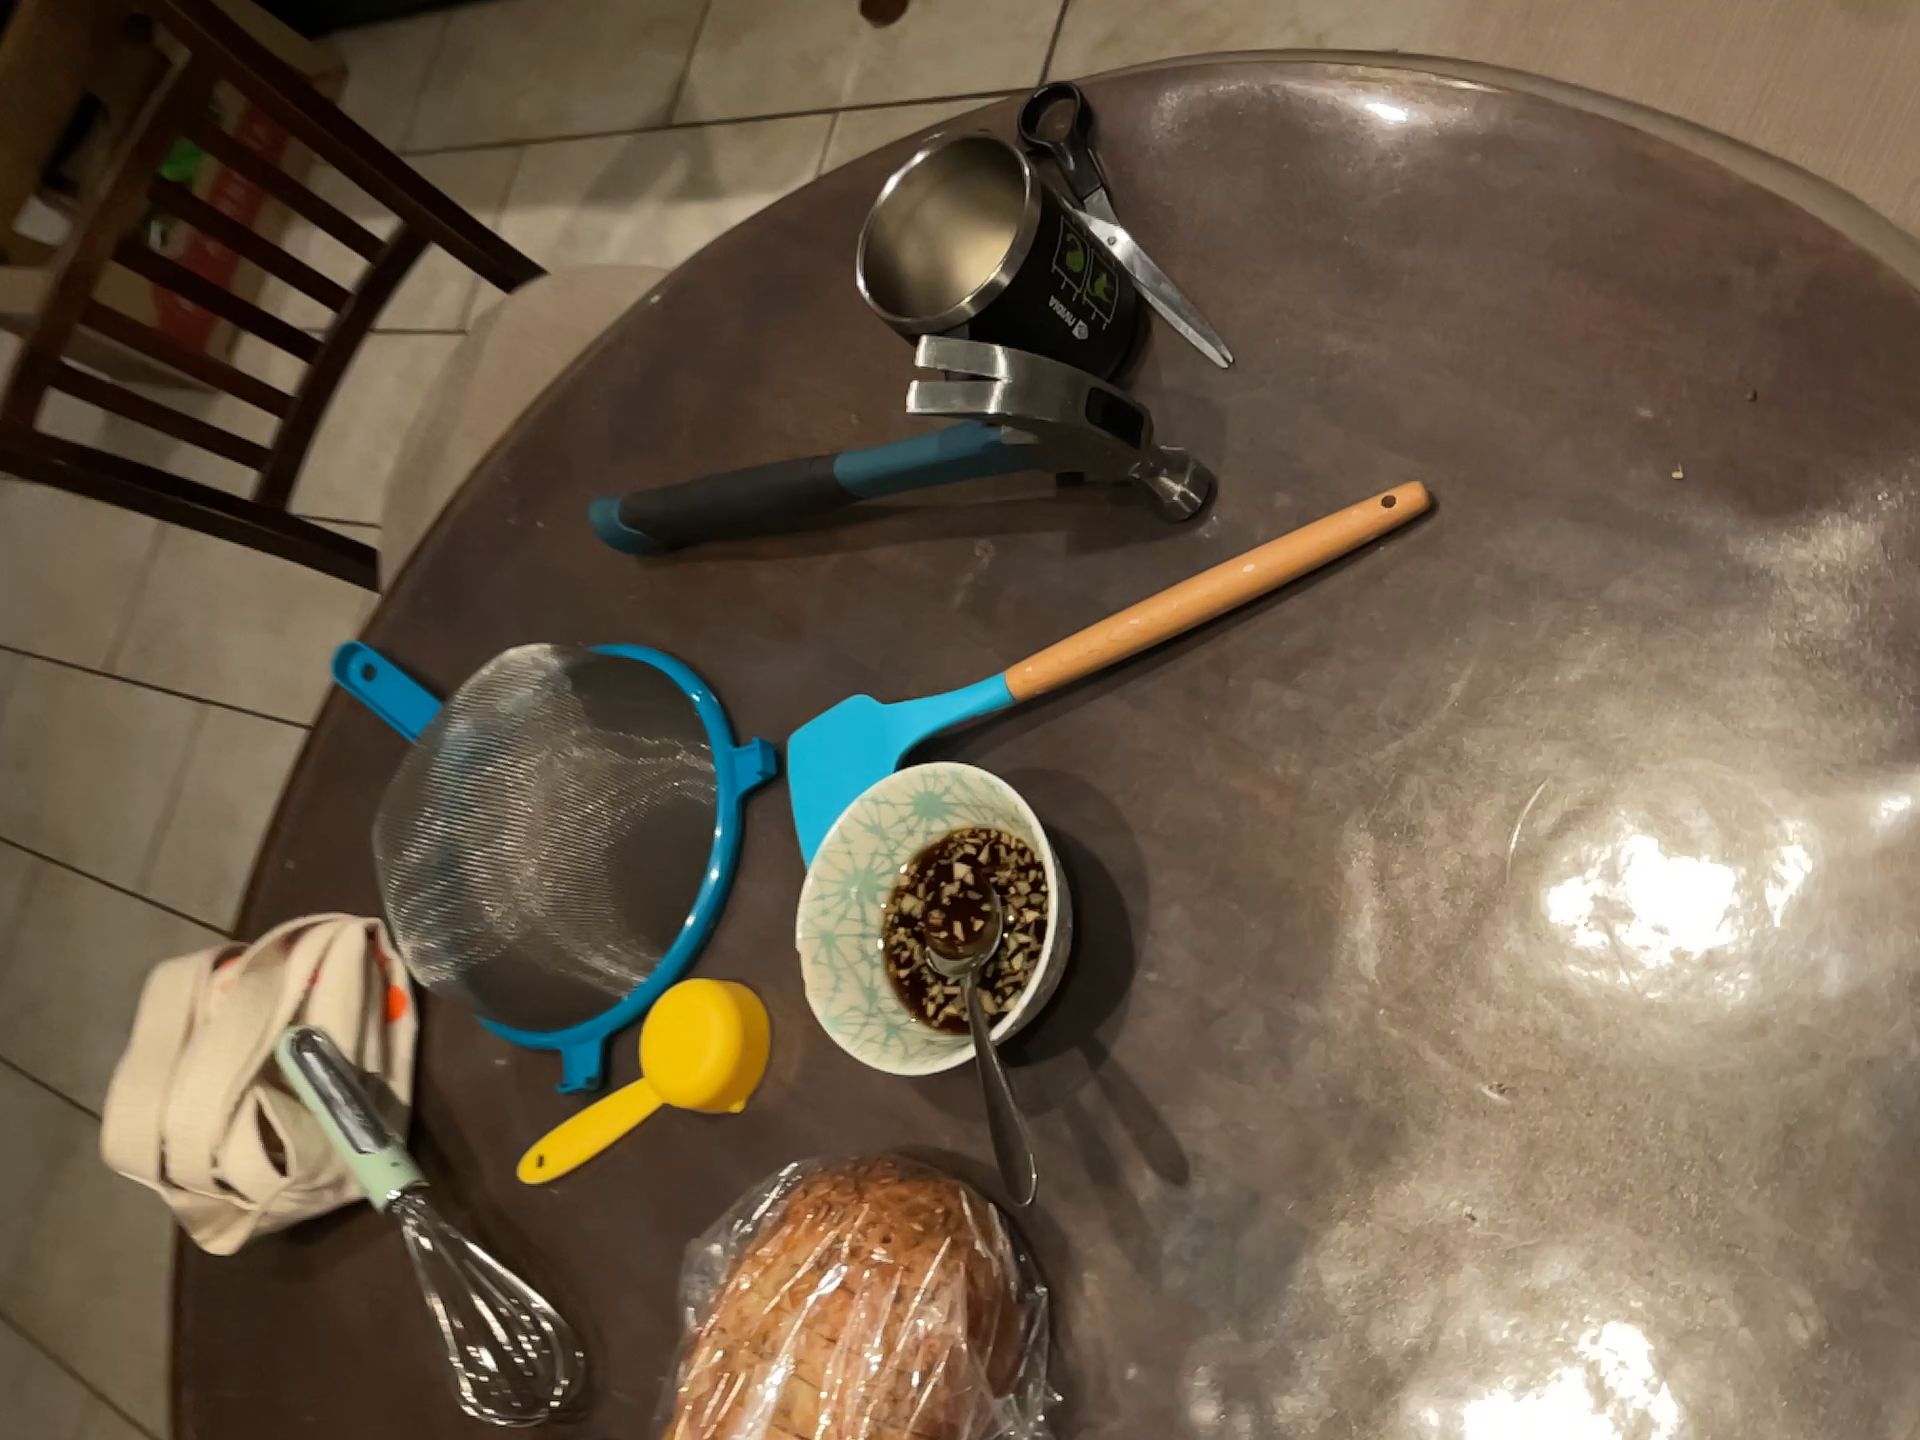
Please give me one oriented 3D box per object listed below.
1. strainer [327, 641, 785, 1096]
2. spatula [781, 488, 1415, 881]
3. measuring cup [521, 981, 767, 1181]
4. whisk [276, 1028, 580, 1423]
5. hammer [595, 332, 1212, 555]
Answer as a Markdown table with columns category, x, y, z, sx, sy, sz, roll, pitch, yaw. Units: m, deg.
| category | x | y | z | sx | sy | sz | roll | pitch | yaw |
| --- | --- | --- | --- | --- | --- | --- | --- | --- | --- |
| strainer | -0.261 | 0.025 | 0.826 | 0.340 | 0.095 | 0.211 | 30 | 91 | 33 |
| spatula | 0.045 | -0.021 | 0.686 | 0.317 | 0.044 | 0.082 | -25 | 61 | 20 |
| measuring cup | -0.156 | 0.174 | 0.743 | 0.156 | 0.029 | 0.062 | -35 | 57 | 17 |
| whisk | -0.261 | 0.233 | 0.763 | 0.246 | 0.058 | 0.059 | 41 | 129 | 28 |
| hammer | -0.056 | -0.112 | 0.744 | 0.331 | 0.128 | 0.033 | -4 | 69 | 42 |
